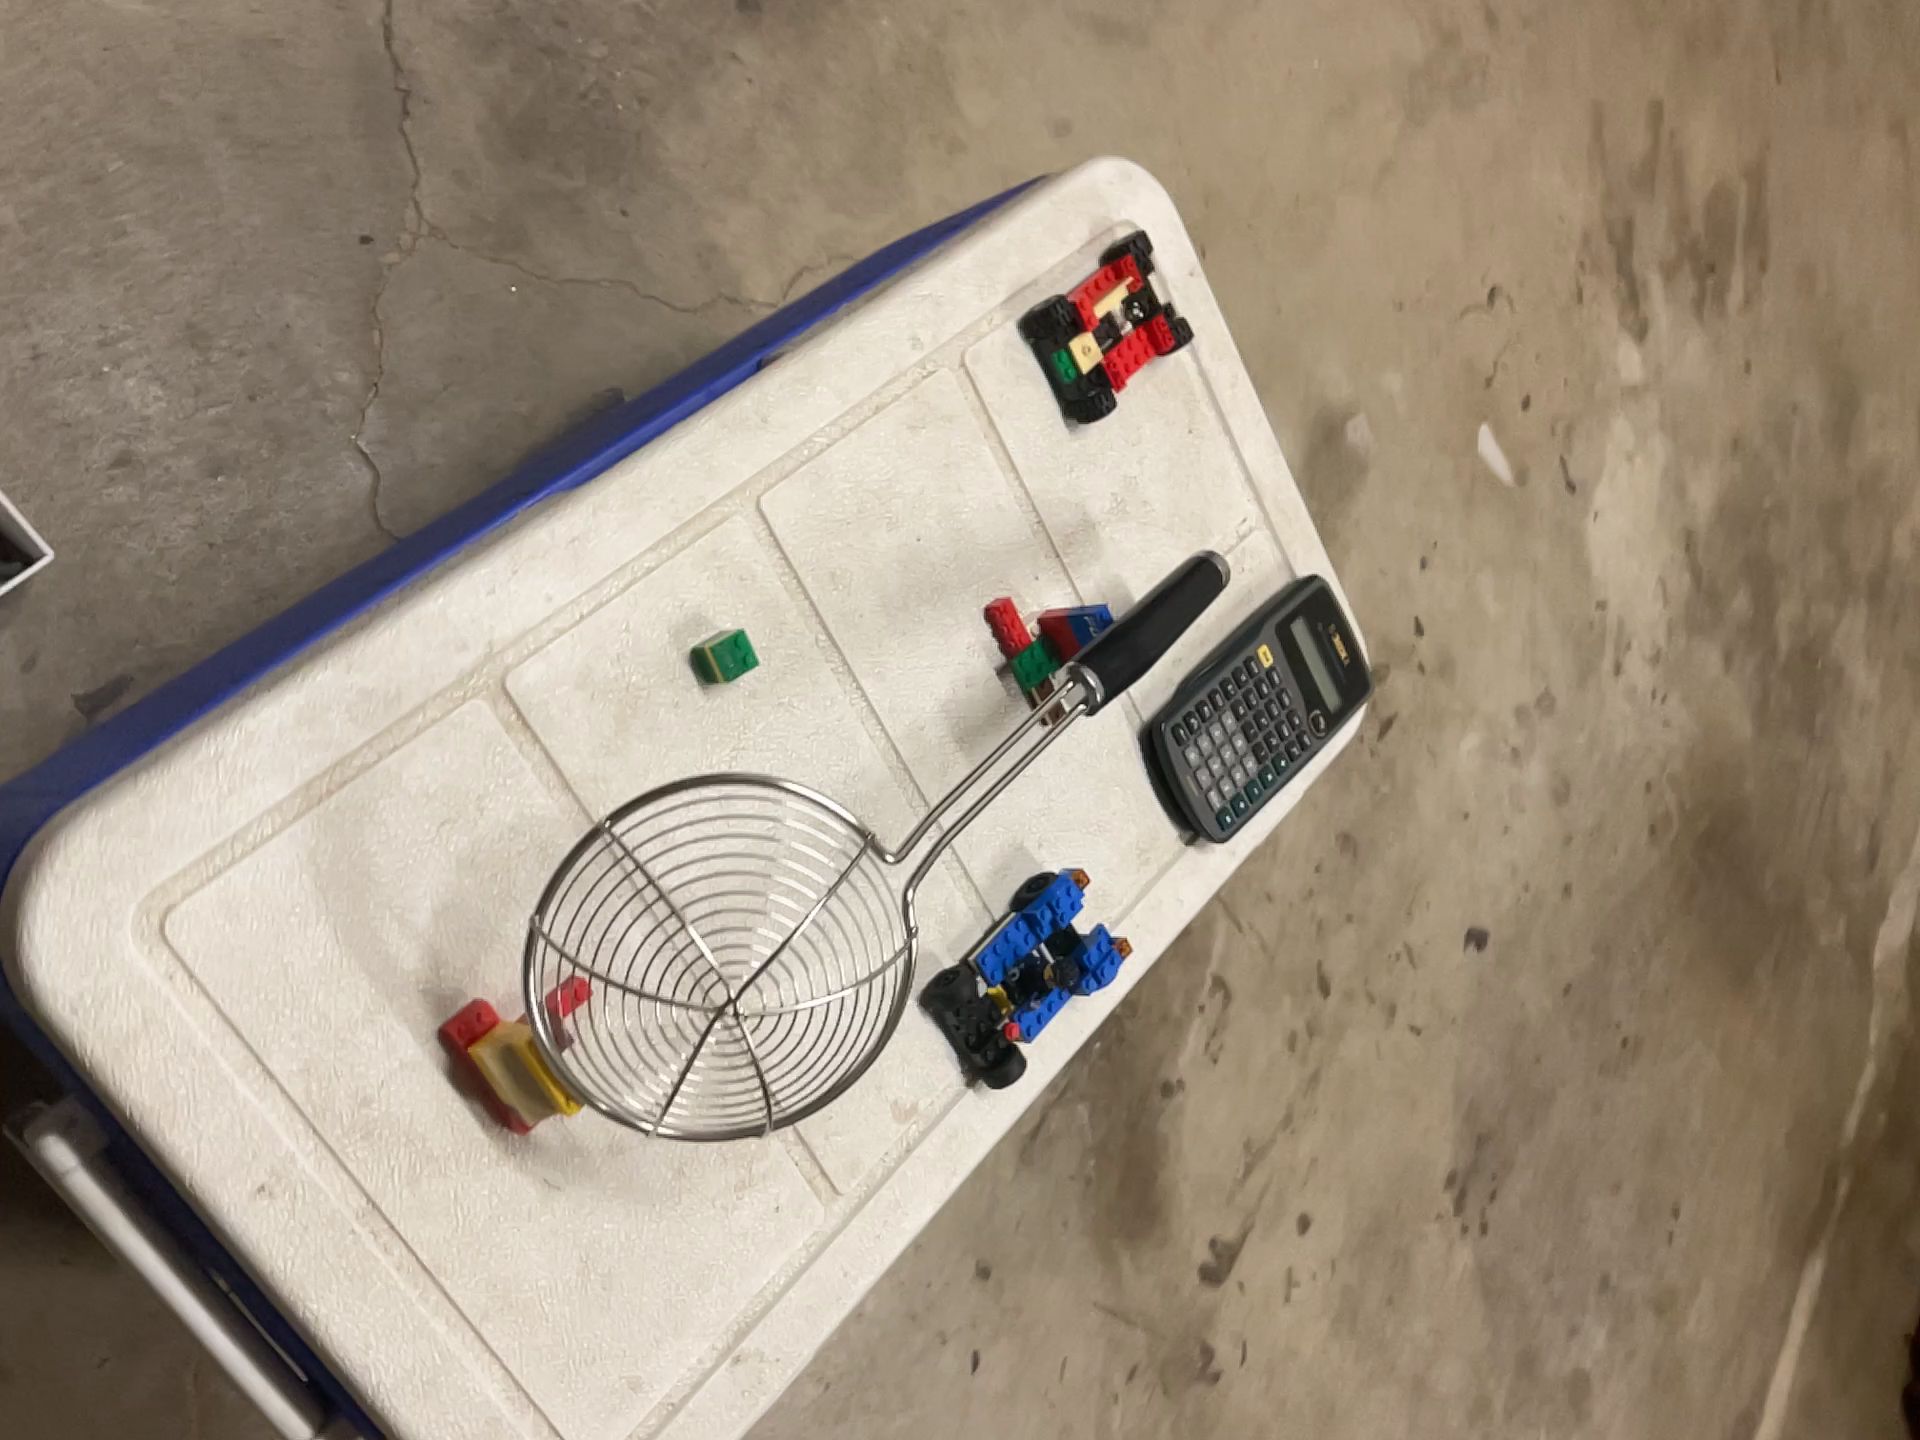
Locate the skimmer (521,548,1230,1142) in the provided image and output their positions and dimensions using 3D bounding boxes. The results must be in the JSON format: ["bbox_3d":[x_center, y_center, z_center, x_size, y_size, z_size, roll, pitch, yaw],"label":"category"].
[{"bbox_3d":[-0.007,0.019,0.617,0.364,0.090,0.127,-41,113,-45],"label":"skimmer"}]
